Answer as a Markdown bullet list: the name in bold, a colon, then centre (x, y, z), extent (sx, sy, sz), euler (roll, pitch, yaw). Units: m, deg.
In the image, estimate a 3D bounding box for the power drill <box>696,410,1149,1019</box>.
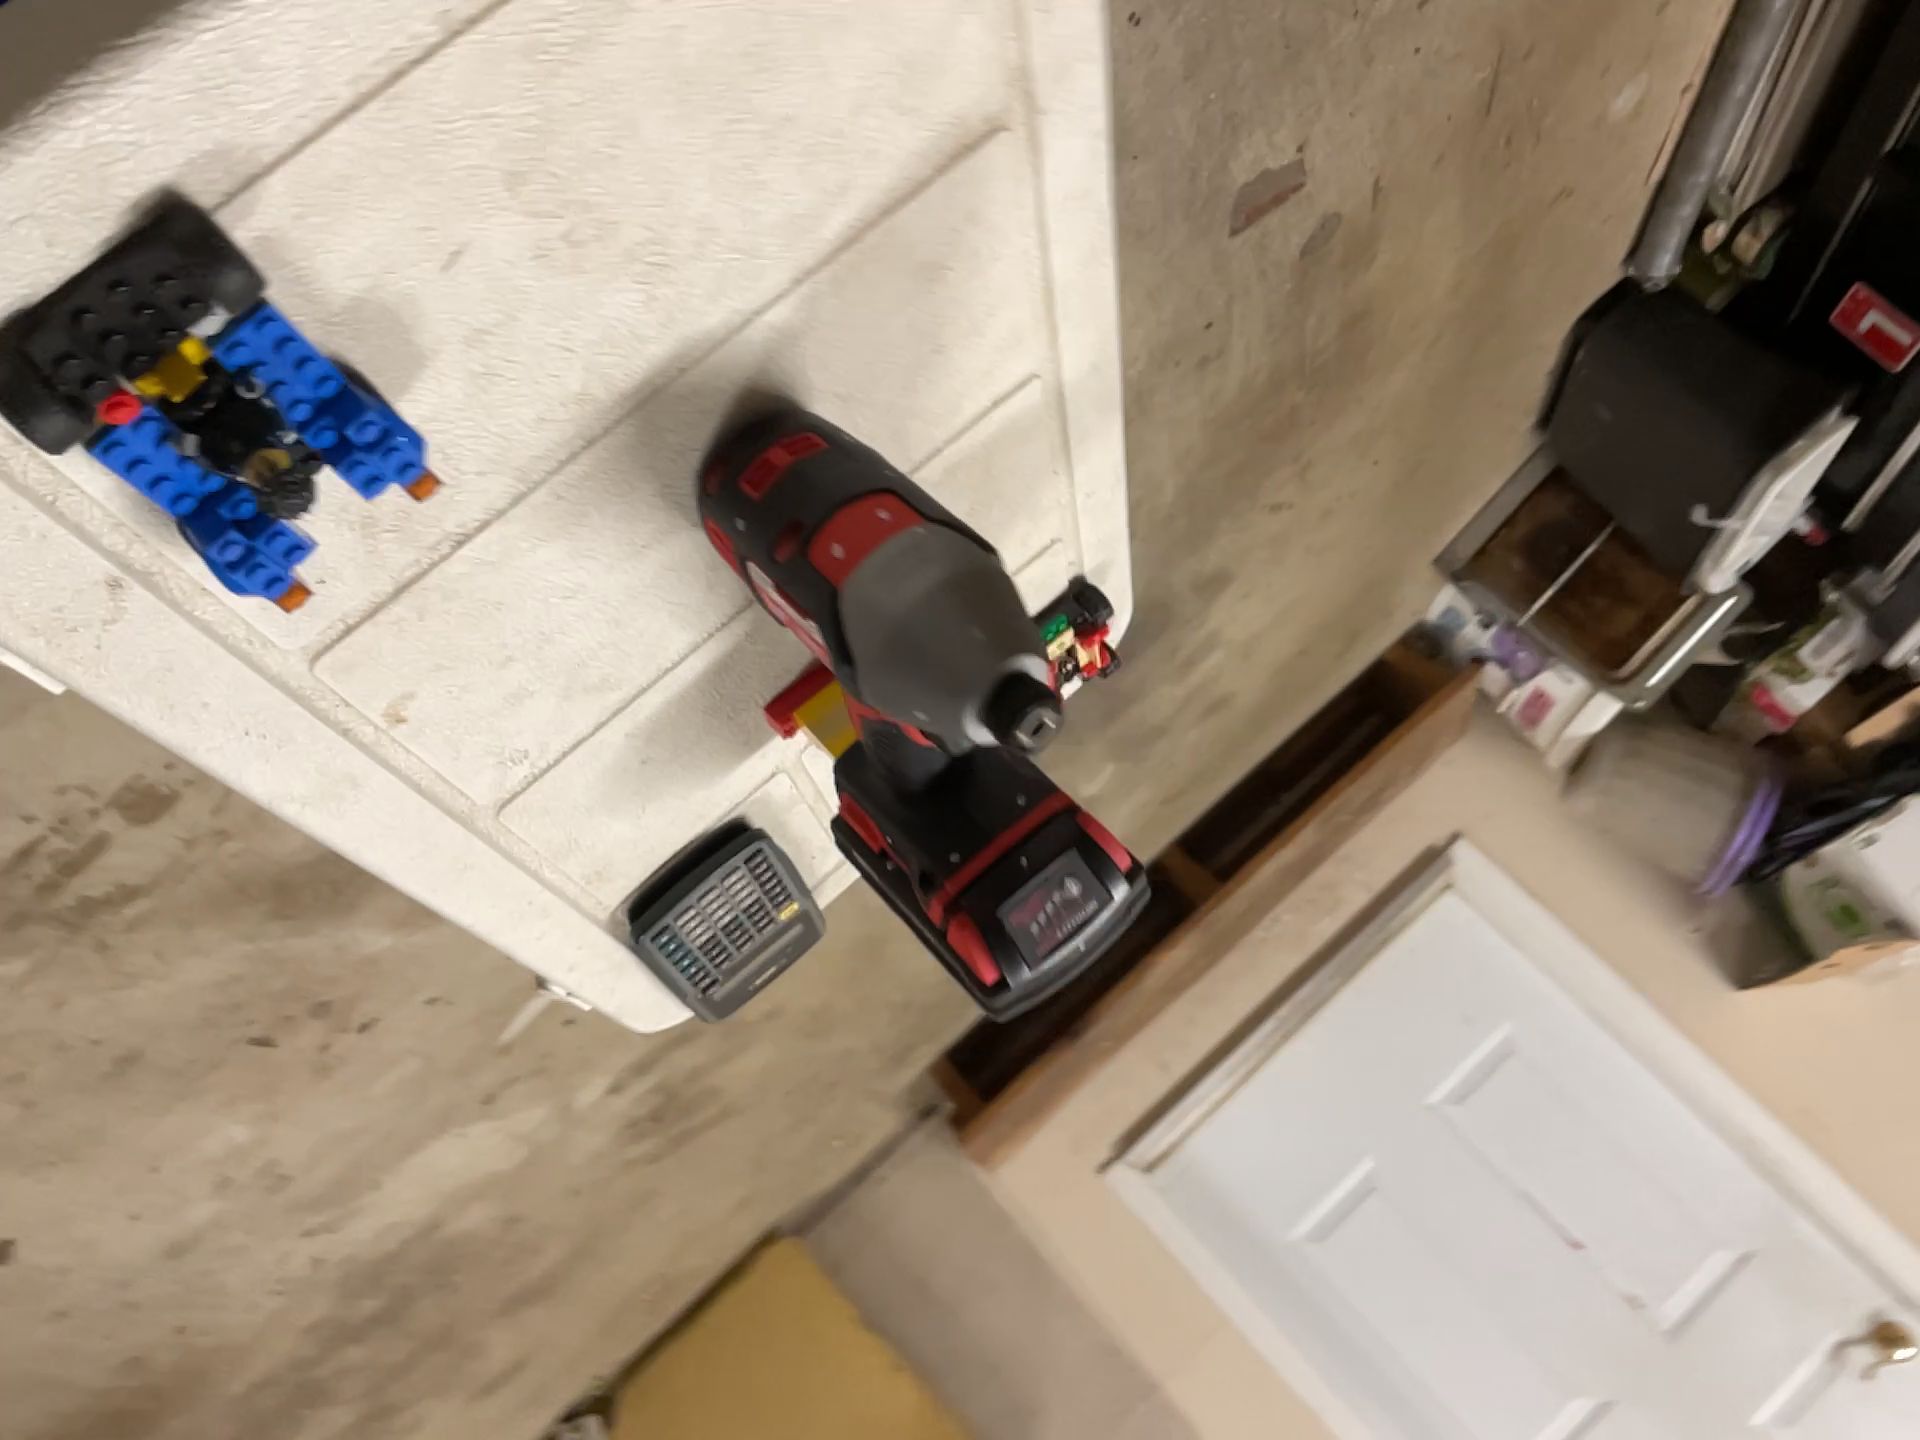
- **power drill**: centre (-0.005, 0.006, 0.546), extent (0.078, 0.143, 0.219), euler (-39, 146, -13)
